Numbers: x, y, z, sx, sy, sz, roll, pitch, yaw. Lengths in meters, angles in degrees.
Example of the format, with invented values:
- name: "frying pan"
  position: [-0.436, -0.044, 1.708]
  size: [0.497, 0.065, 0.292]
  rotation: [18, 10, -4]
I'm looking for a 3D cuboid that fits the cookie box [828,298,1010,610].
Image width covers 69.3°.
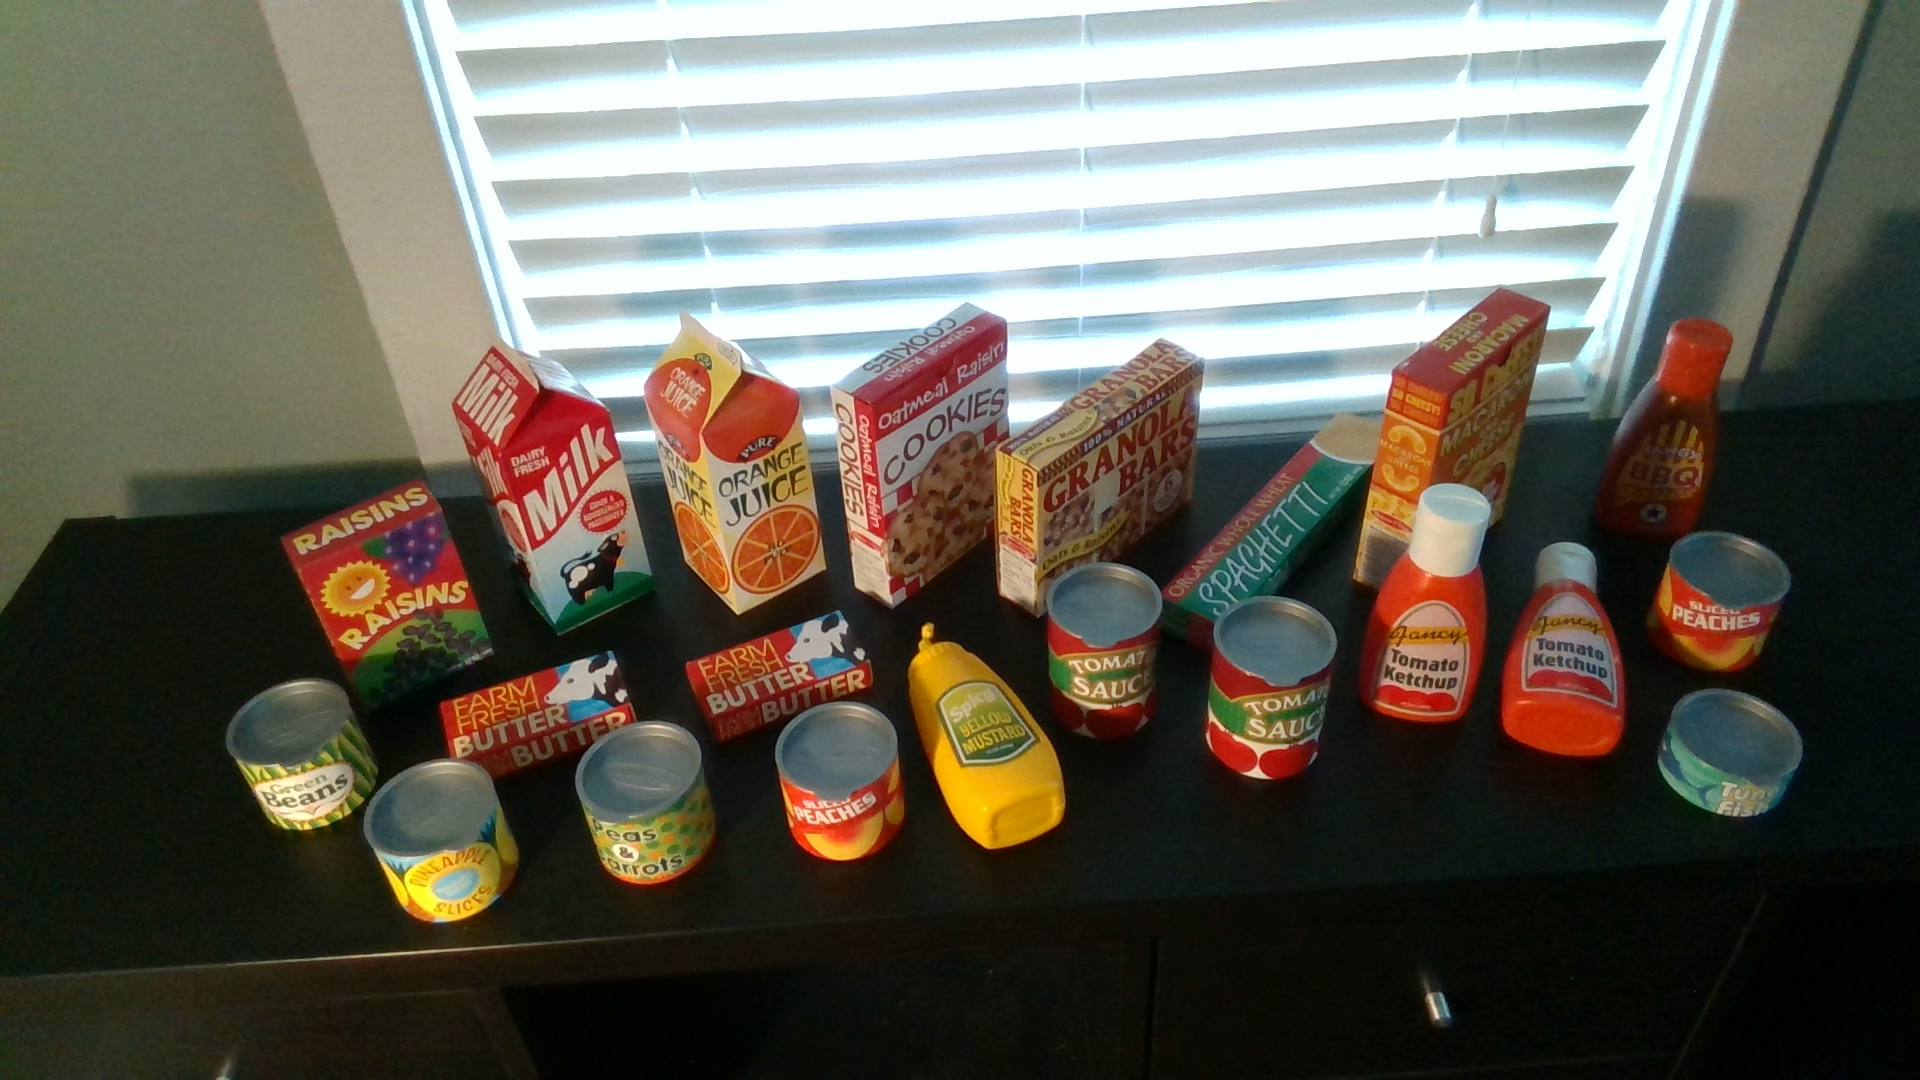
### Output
- name: "cookie box"
  position: [-0.020, -0.054, 0.888]
  size: [0.040, 0.166, 0.123]
  rotation: [29, 50, 31]

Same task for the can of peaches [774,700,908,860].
- name: "can of peaches"
  position: [-0.064, 0.132, 0.751]
  size: [0.071, 0.057, 0.071]
  rotation: [-4, 40, 3]

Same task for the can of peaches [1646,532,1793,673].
- name: "can of peaches"
  position: [0.452, 0.039, 0.832]
  size: [0.071, 0.057, 0.071]
  rotation: [-1, 40, 1]

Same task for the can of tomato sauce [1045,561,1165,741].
- name: "can of tomato sauce"
  position: [0.083, 0.066, 0.799]
  size: [0.071, 0.082, 0.071]
  rotation: [-2, 39, 1]

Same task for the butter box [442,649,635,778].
- name: "butter box"
  position: [-0.250, 0.104, 0.824]
  size: [0.104, 0.024, 0.053]
  rotation: [-18, 41, -17]

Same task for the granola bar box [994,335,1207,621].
- name: "granola bar box"
  position: [0.090, -0.042, 0.896]
  size: [0.039, 0.123, 0.166]
  rotation: [31, 50, 32]

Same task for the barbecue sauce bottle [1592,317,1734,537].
- name: "barbecue sauce bottle"
  position: [0.454, -0.071, 0.889]
  size: [0.065, 0.147, 0.044]
  rotation: [7, 41, 12]

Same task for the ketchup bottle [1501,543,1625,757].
- name: "ketchup bottle"
  position: [0.358, 0.061, 0.824]
  size: [0.065, 0.043, 0.150]
  rotation: [11, 41, 16]

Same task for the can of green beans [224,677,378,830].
- name: "can of green beans"
  position: [-0.373, 0.122, 0.790]
  size: [0.071, 0.057, 0.071]
  rotation: [-2, 40, 2]

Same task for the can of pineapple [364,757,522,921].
- name: "can of pineapple"
  position: [-0.272, 0.160, 0.736]
  size: [0.071, 0.057, 0.071]
  rotation: [-3, 40, 3]

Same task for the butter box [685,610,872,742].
- name: "butter box"
  position: [-0.110, 0.082, 0.846]
  size: [0.104, 0.024, 0.053]
  rotation: [-19, 41, -18]

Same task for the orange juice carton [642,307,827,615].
- name: "orange juice carton"
  position: [-0.142, -0.053, 0.878]
  size: [0.073, 0.191, 0.072]
  rotation: [-29, 48, -26]

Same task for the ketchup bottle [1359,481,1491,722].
- name: "ketchup bottle"
  position: [0.264, 0.036, 0.777]
  size: [0.065, 0.148, 0.044]
  rotation: [8, 40, 14]

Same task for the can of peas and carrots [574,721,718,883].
- name: "can of peas and carrots"
  position: [-0.168, 0.143, 0.746]
  size: [0.071, 0.058, 0.071]
  rotation: [-3, 39, 3]

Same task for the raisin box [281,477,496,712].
- name: "raisin box"
  position: [-0.341, 0.034, 0.838]
  size: [0.086, 0.122, 0.040]
  rotation: [-26, 46, -24]

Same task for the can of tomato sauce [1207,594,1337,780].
- name: "can of tomato sauce"
  position: [0.173, 0.084, 0.775]
  size: [0.071, 0.082, 0.071]
  rotation: [-3, 40, 3]

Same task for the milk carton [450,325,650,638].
- name: "milk carton"
  position: [-0.258, -0.040, 0.868]
  size: [0.074, 0.189, 0.072]
  rotation: [-29, 46, -28]

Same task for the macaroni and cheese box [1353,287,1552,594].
- name: "macaroni and cheese box"
  position: [0.308, -0.058, 0.872]
  size: [0.124, 0.165, 0.040]
  rotation: [-35, 50, -30]

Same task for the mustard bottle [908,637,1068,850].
- name: "mustard bottle"
  position: [0.004, 0.103, 0.791]
  size: [0.065, 0.048, 0.161]
  rotation: [-16, 40, -17]

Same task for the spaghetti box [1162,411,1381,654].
- name: "spaghetti box"
  position: [0.216, -0.010, 0.927]
  size: [0.050, 0.028, 0.251]
  rotation: [25, 48, 30]

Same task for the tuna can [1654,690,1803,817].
- name: "tuna can"
  position: [0.419, 0.118, 0.758]
  size: [0.071, 0.032, 0.071]
  rotation: [-1, 39, 1]
